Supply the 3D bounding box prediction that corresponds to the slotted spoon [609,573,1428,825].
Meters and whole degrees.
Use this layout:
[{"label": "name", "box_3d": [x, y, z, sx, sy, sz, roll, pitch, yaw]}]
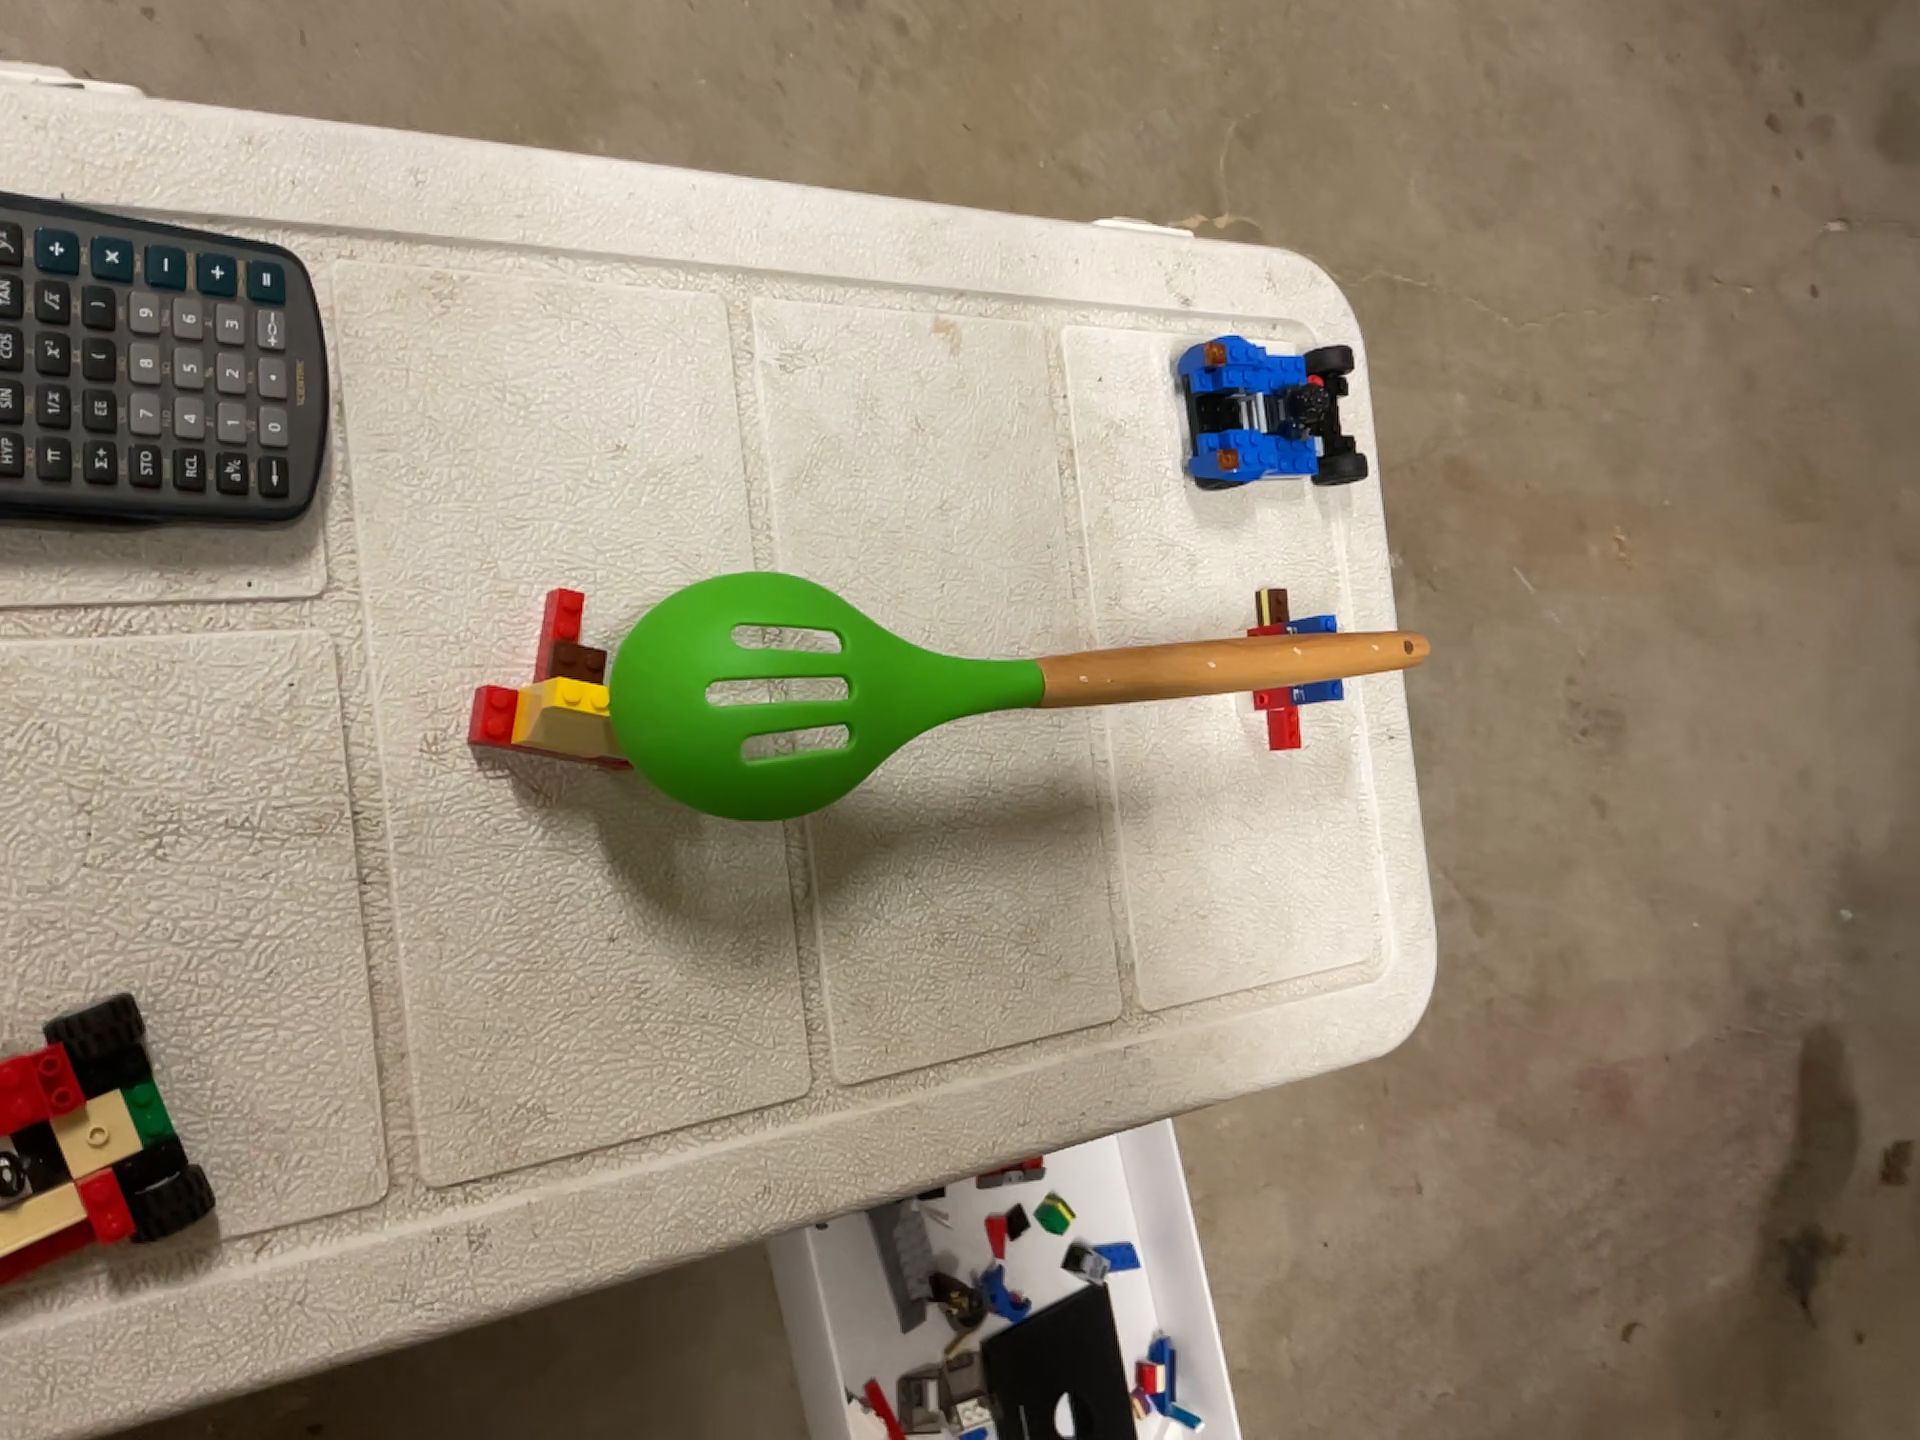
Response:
[{"label": "slotted spoon", "box_3d": [0.042, -0.015, 0.507, 0.313, 0.031, 0.070, -5, 87, -35]}]
